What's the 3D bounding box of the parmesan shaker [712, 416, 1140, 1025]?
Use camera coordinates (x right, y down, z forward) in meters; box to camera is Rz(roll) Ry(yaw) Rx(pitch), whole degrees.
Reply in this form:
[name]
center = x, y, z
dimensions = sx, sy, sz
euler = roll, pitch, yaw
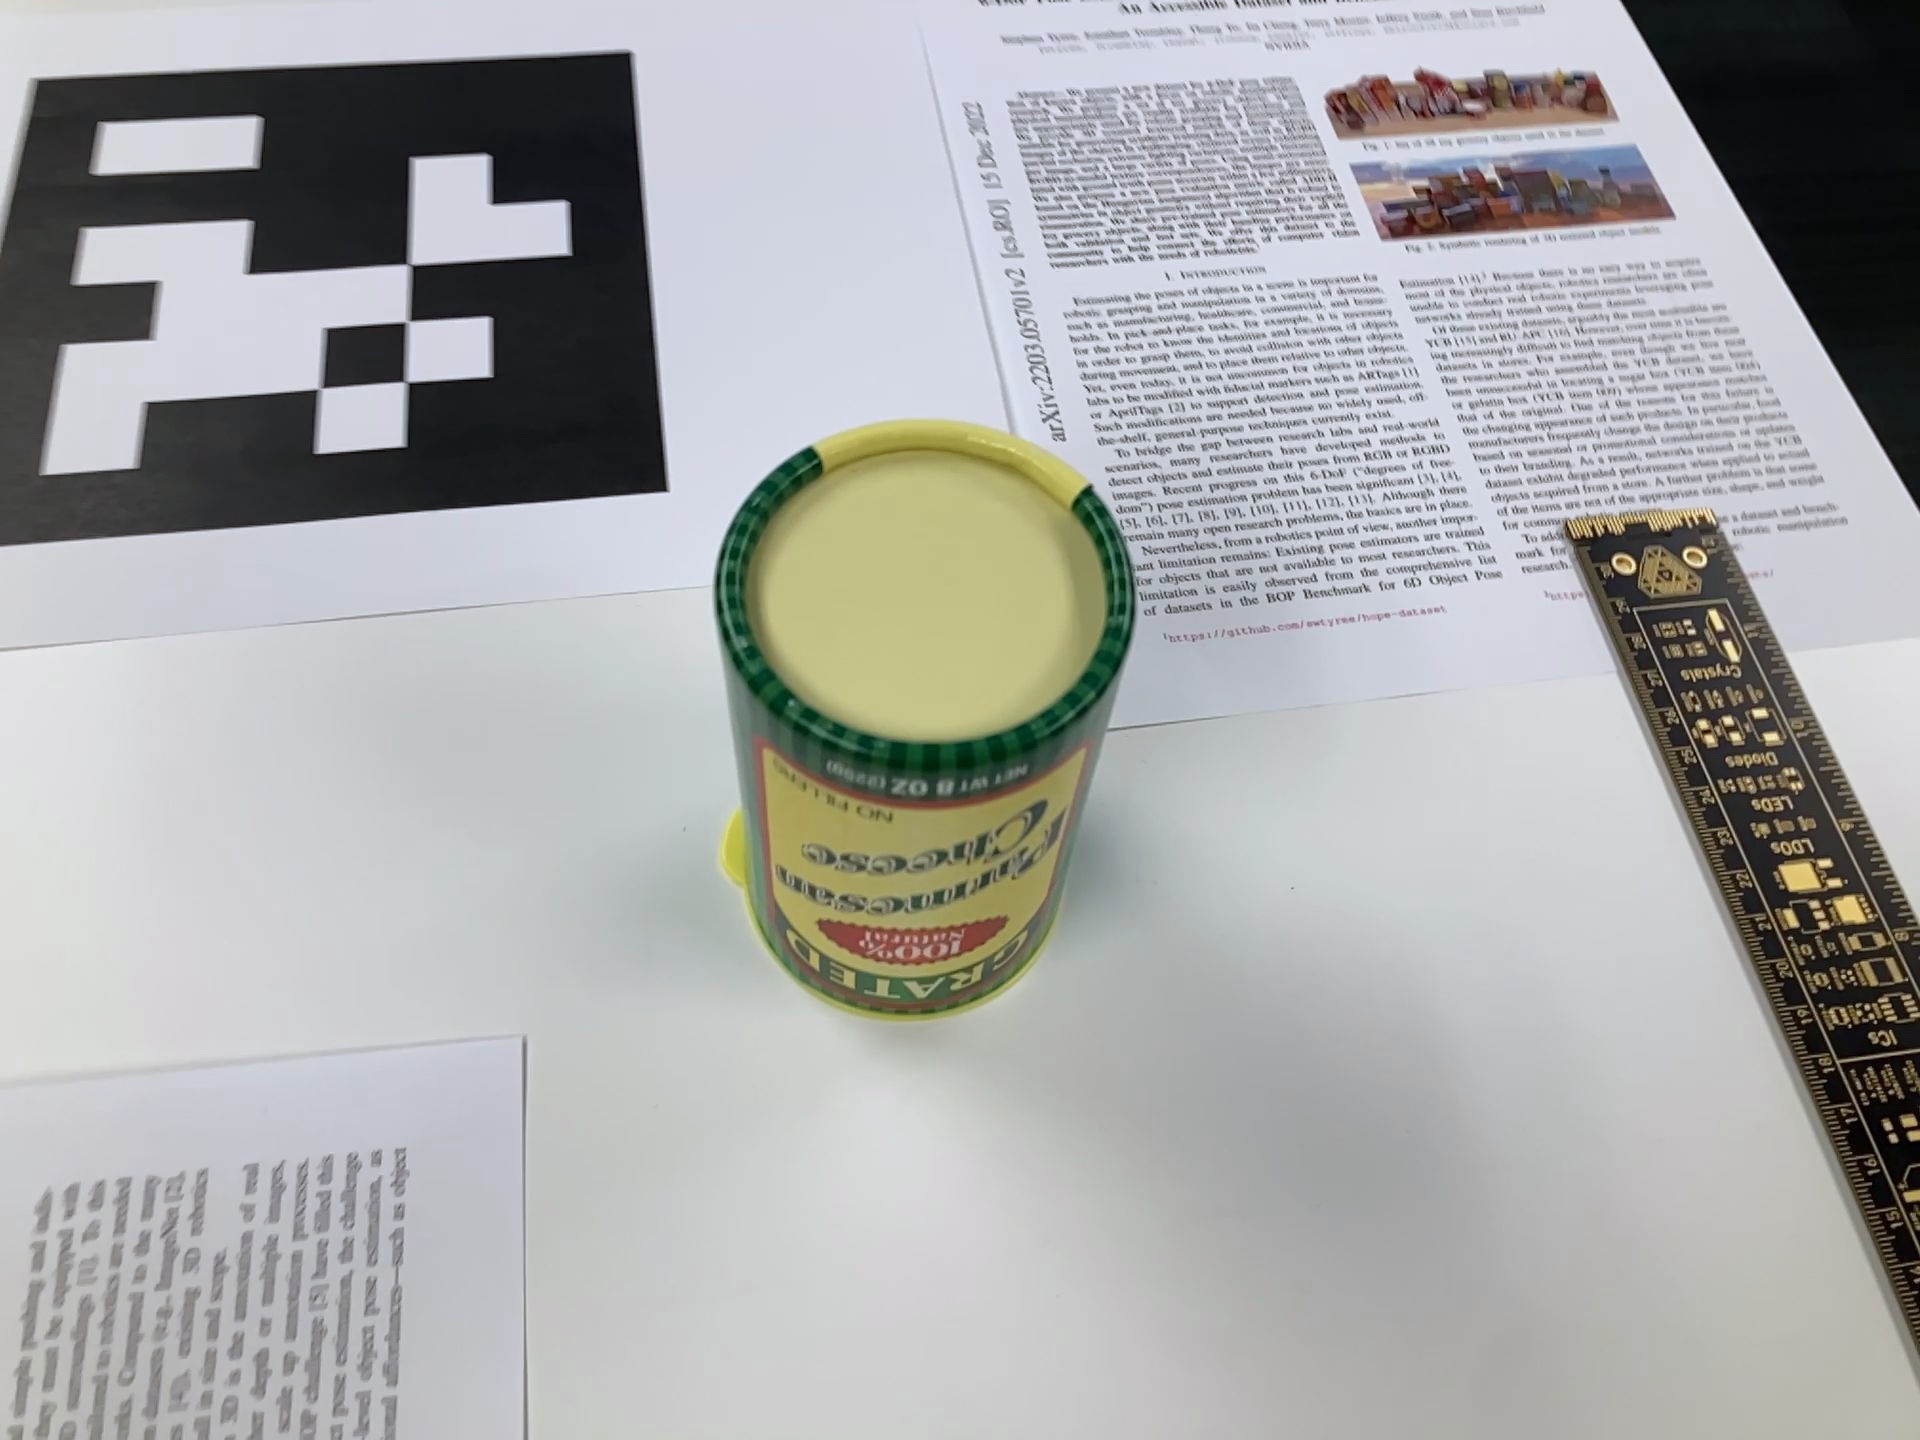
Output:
[parmesan shaker]
center = -0.011, 0.005, 0.281
dimensions = 0.071, 0.103, 0.071
euler = 2, 59, -3
